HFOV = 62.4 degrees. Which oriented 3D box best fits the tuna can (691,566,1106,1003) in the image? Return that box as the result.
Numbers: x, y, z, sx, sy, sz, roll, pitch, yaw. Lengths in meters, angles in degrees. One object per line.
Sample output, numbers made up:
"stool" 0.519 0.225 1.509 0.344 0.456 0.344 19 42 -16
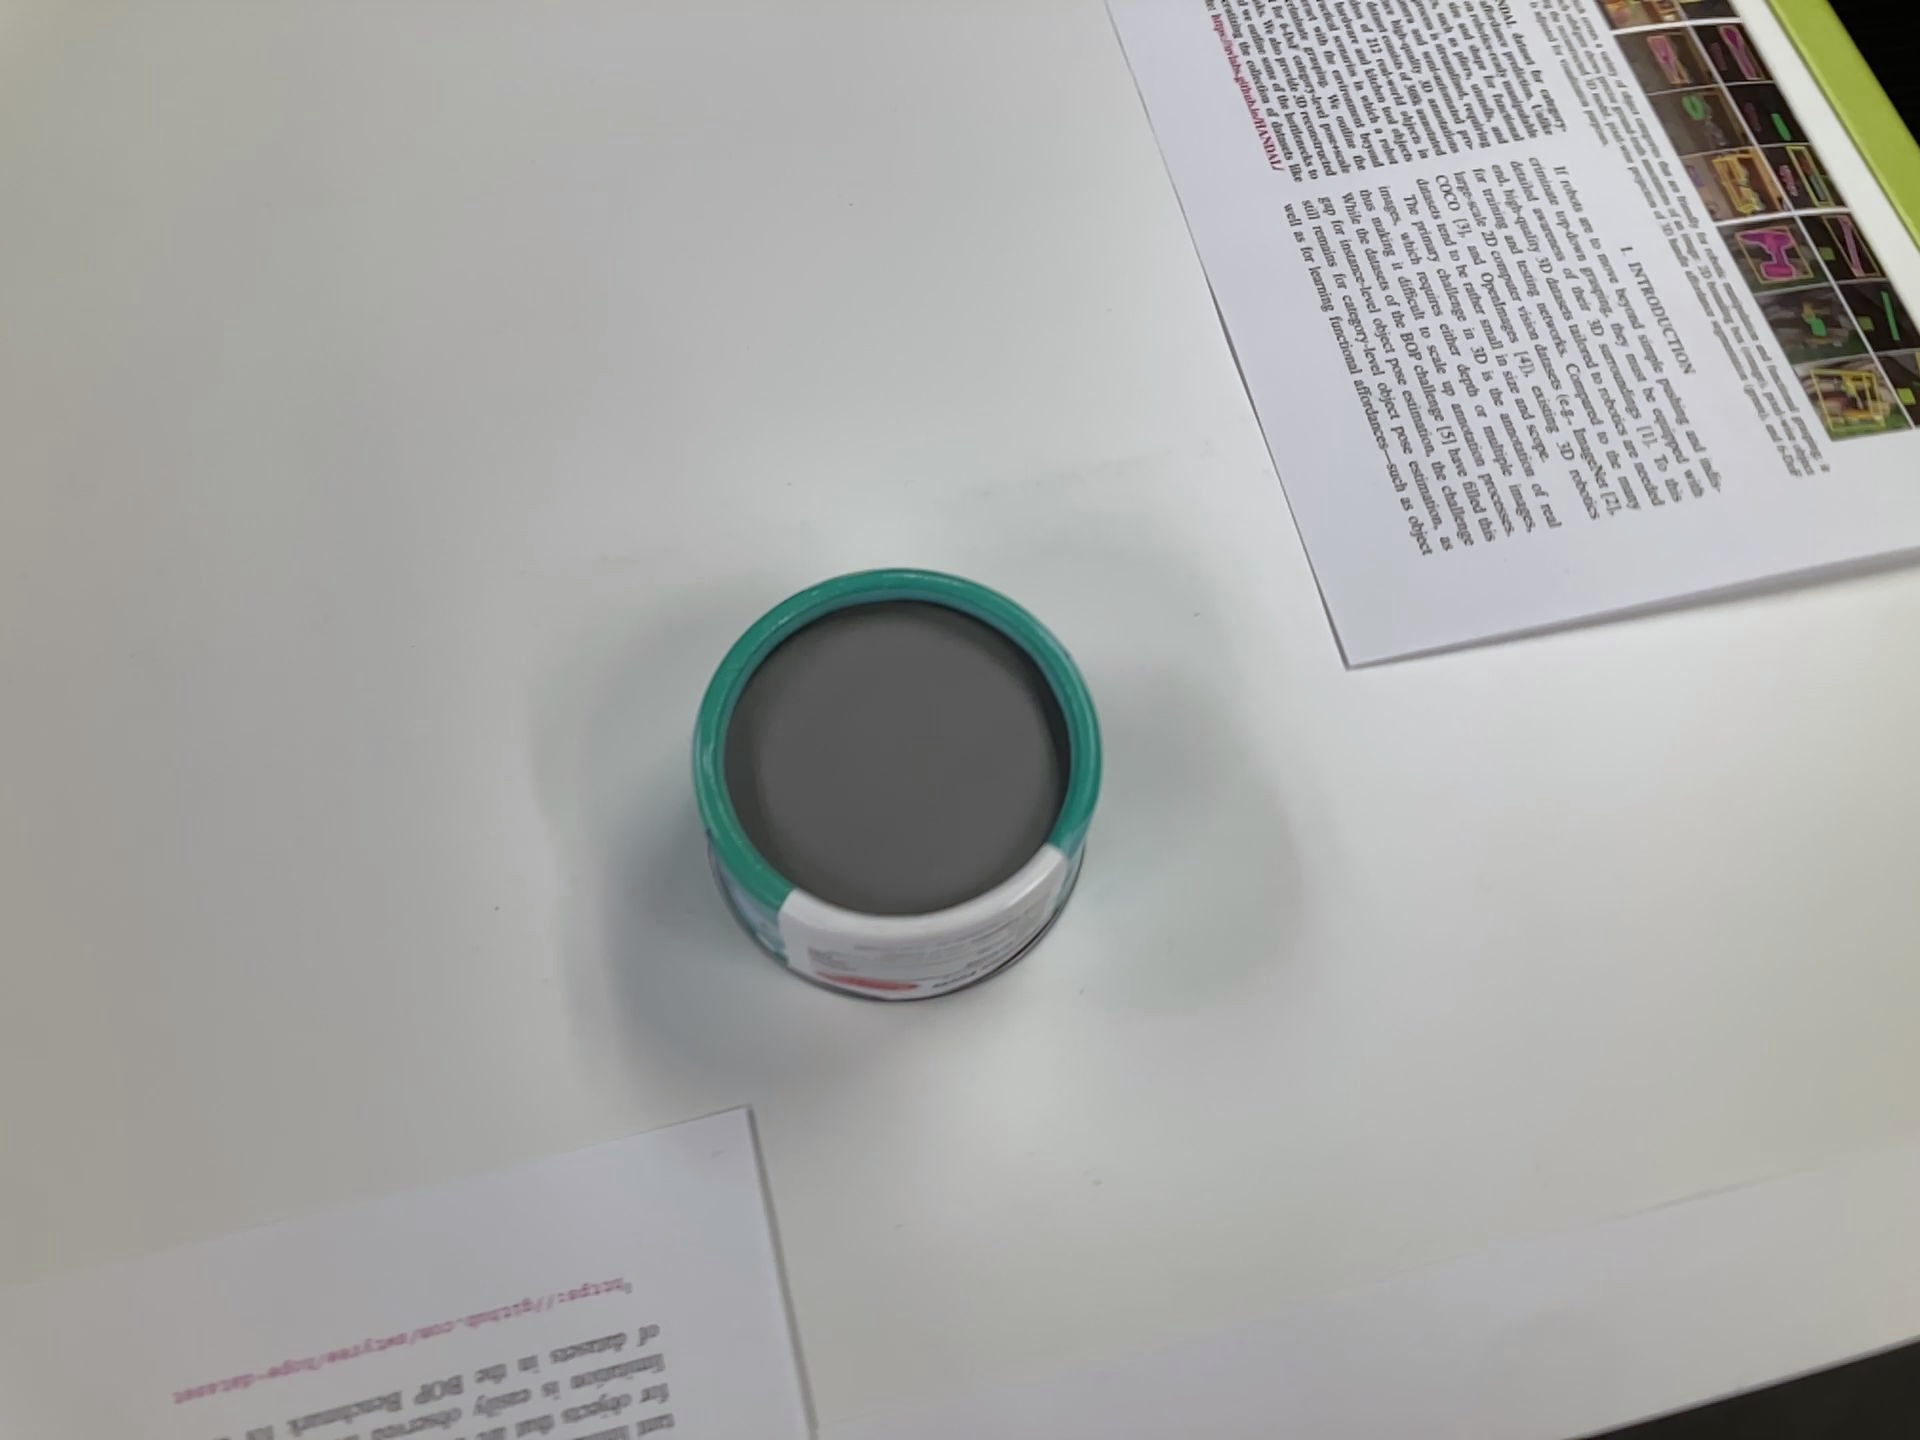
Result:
"tuna can" -0.011 0.008 0.262 0.071 0.033 0.071 2 65 -3
